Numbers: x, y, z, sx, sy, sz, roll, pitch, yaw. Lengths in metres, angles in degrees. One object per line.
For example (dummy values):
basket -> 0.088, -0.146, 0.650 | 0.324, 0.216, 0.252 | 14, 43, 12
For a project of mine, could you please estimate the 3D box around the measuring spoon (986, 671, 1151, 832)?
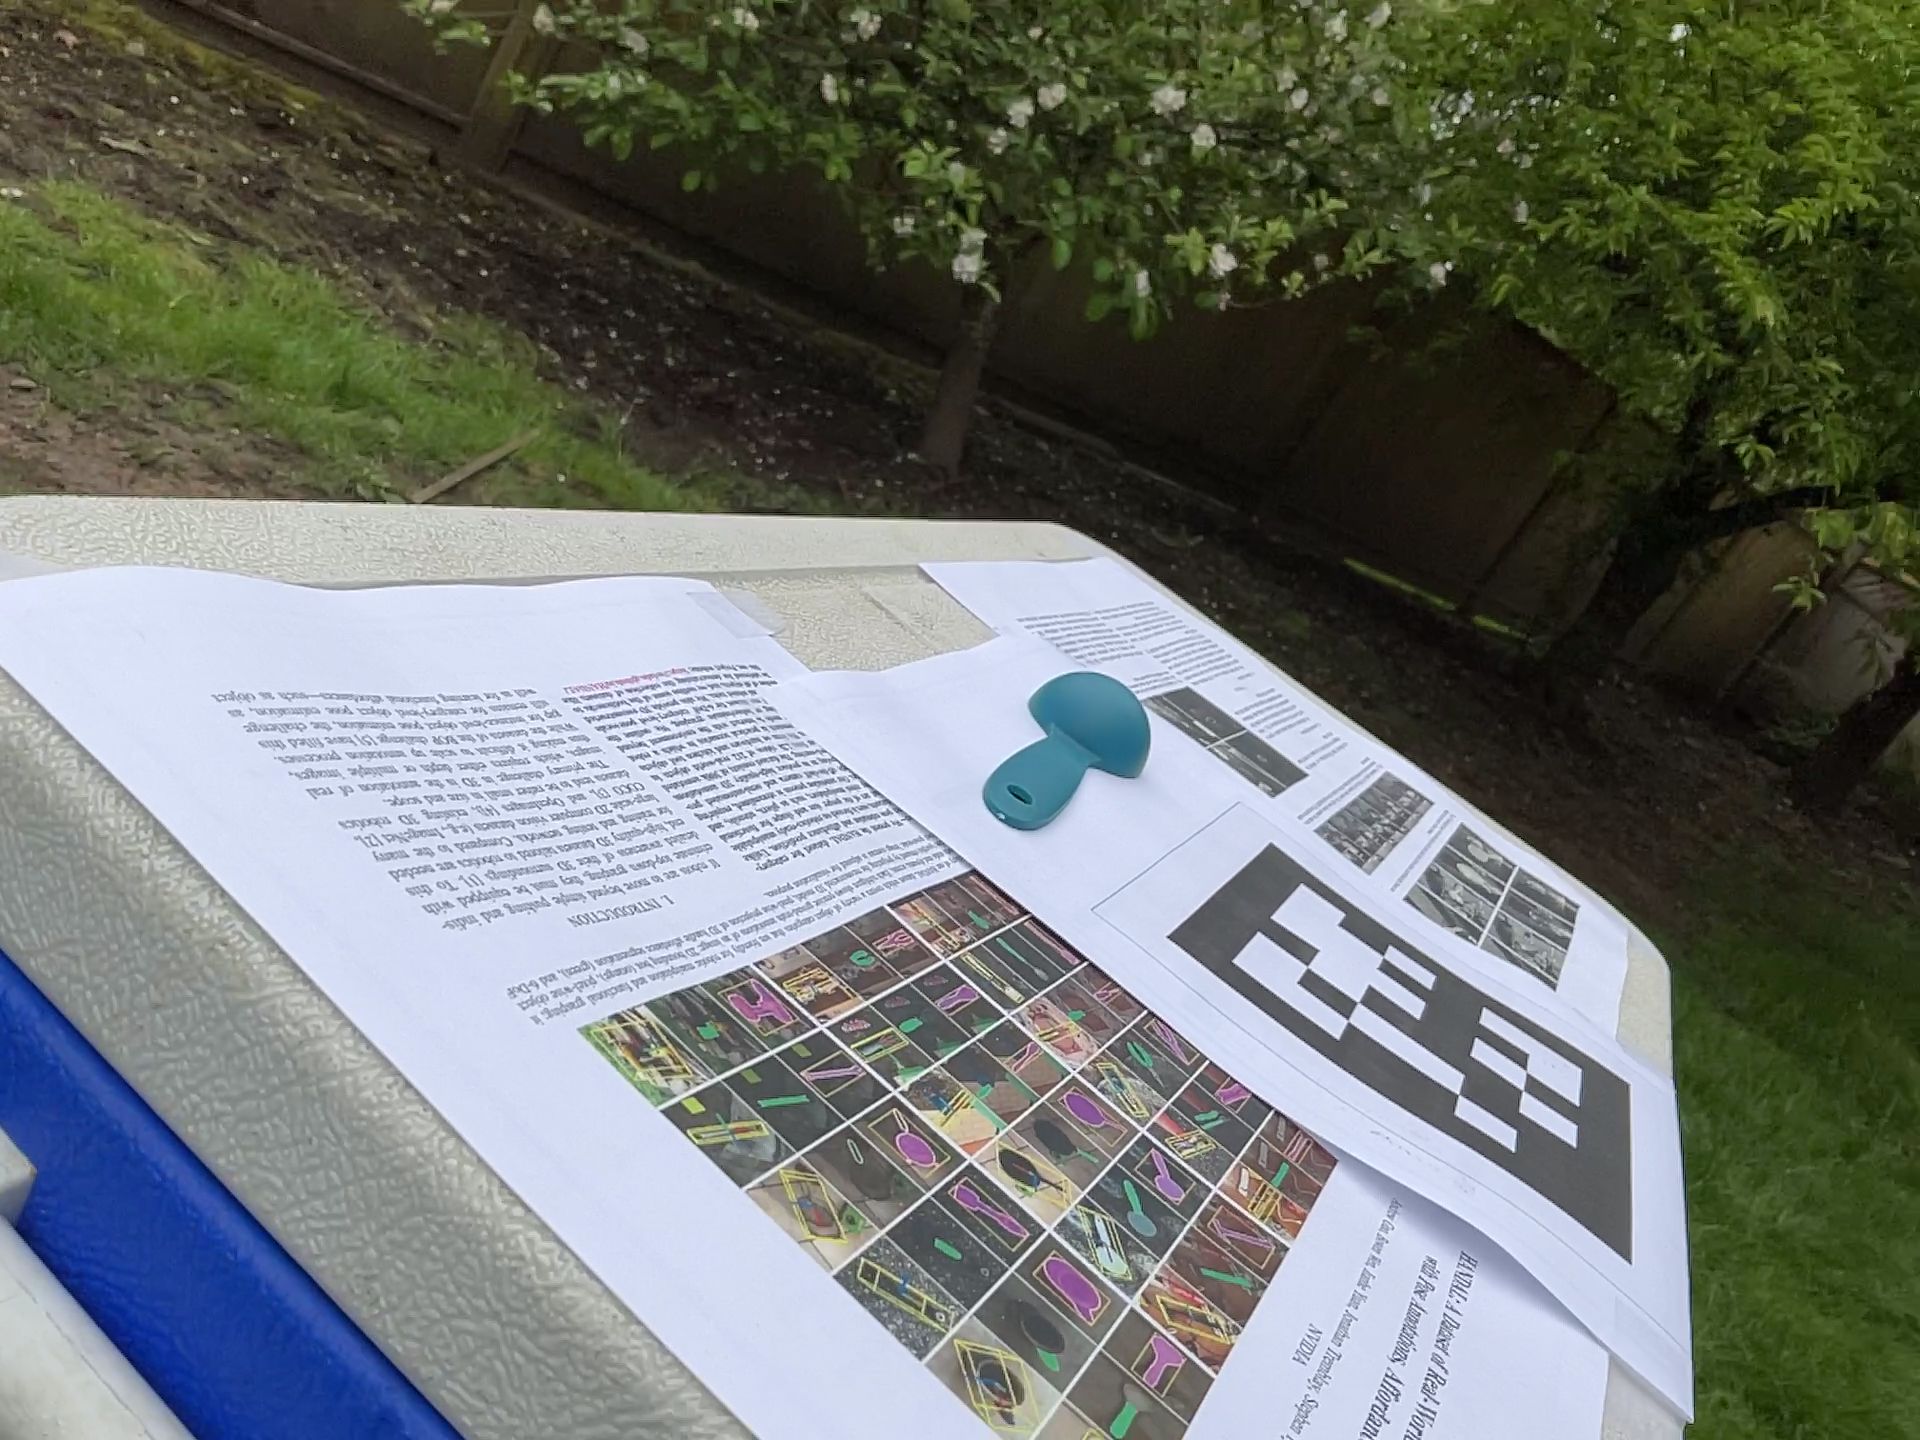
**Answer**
measuring spoon -> 0.033, 0.006, 0.464 | 0.042, 0.021, 0.128 | 40, 19, 5
